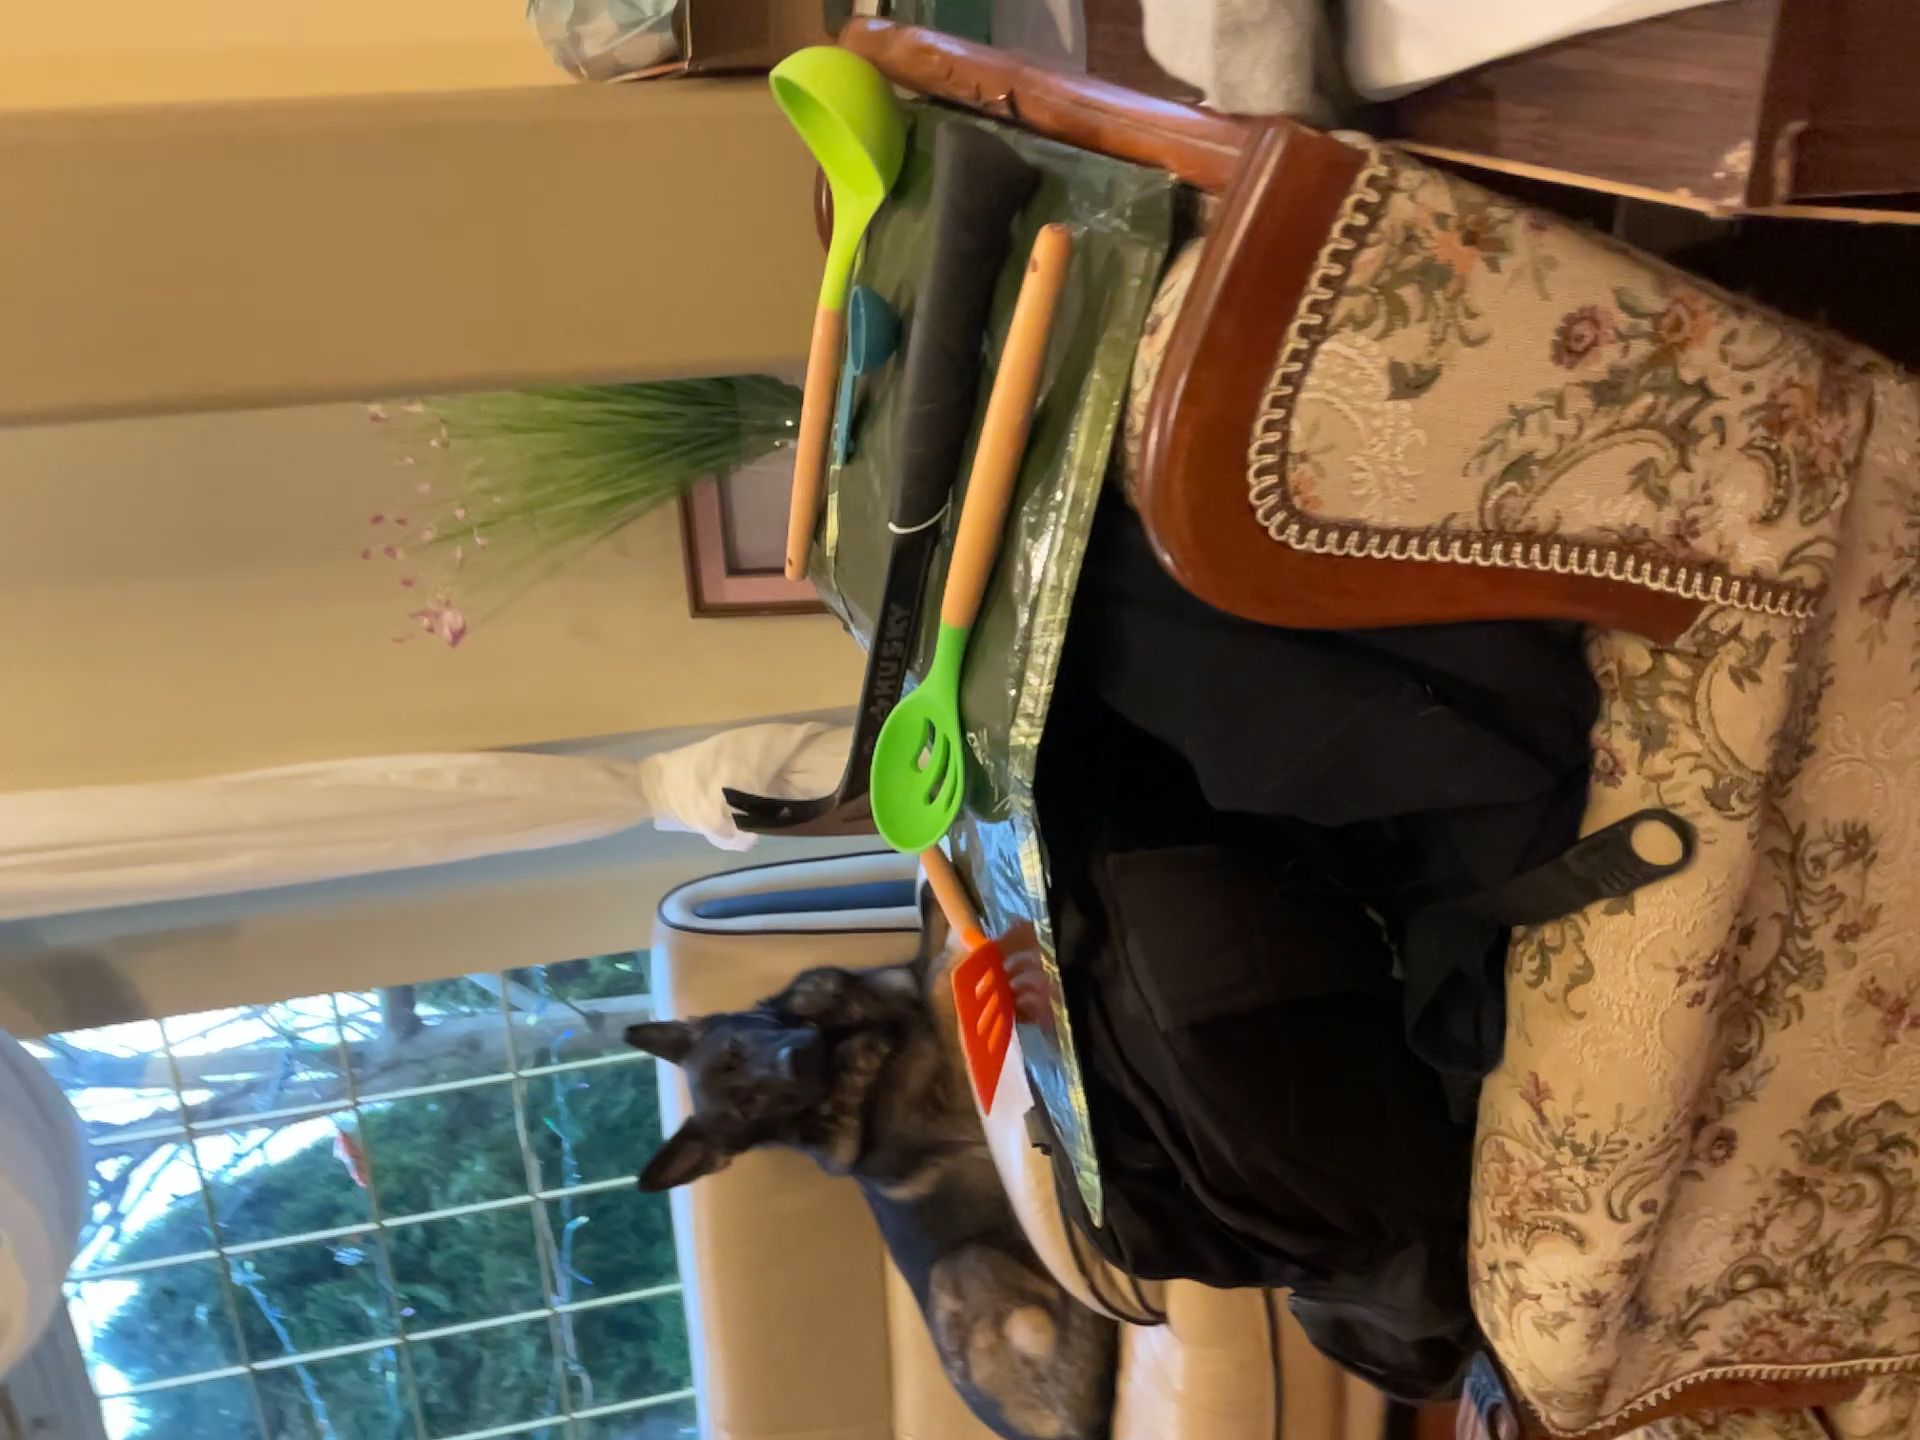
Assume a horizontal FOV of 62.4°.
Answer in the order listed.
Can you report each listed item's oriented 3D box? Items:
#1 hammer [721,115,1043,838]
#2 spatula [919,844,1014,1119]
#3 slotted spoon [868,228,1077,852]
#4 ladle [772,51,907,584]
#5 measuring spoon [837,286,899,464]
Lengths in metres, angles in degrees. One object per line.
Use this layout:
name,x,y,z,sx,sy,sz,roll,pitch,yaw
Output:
hammer,-0.027,-0.087,0.763,0.408,0.149,0.036,103,149,-41
spatula,-0.006,0.123,0.938,0.323,0.041,0.081,-127,24,-73
slotted spoon,0.006,-0.064,0.690,0.070,0.031,0.313,54,142,37
ladle,-0.080,-0.197,0.852,0.078,0.062,0.320,45,140,29
measuring spoon,-0.048,-0.171,0.812,0.128,0.021,0.042,110,153,-62
